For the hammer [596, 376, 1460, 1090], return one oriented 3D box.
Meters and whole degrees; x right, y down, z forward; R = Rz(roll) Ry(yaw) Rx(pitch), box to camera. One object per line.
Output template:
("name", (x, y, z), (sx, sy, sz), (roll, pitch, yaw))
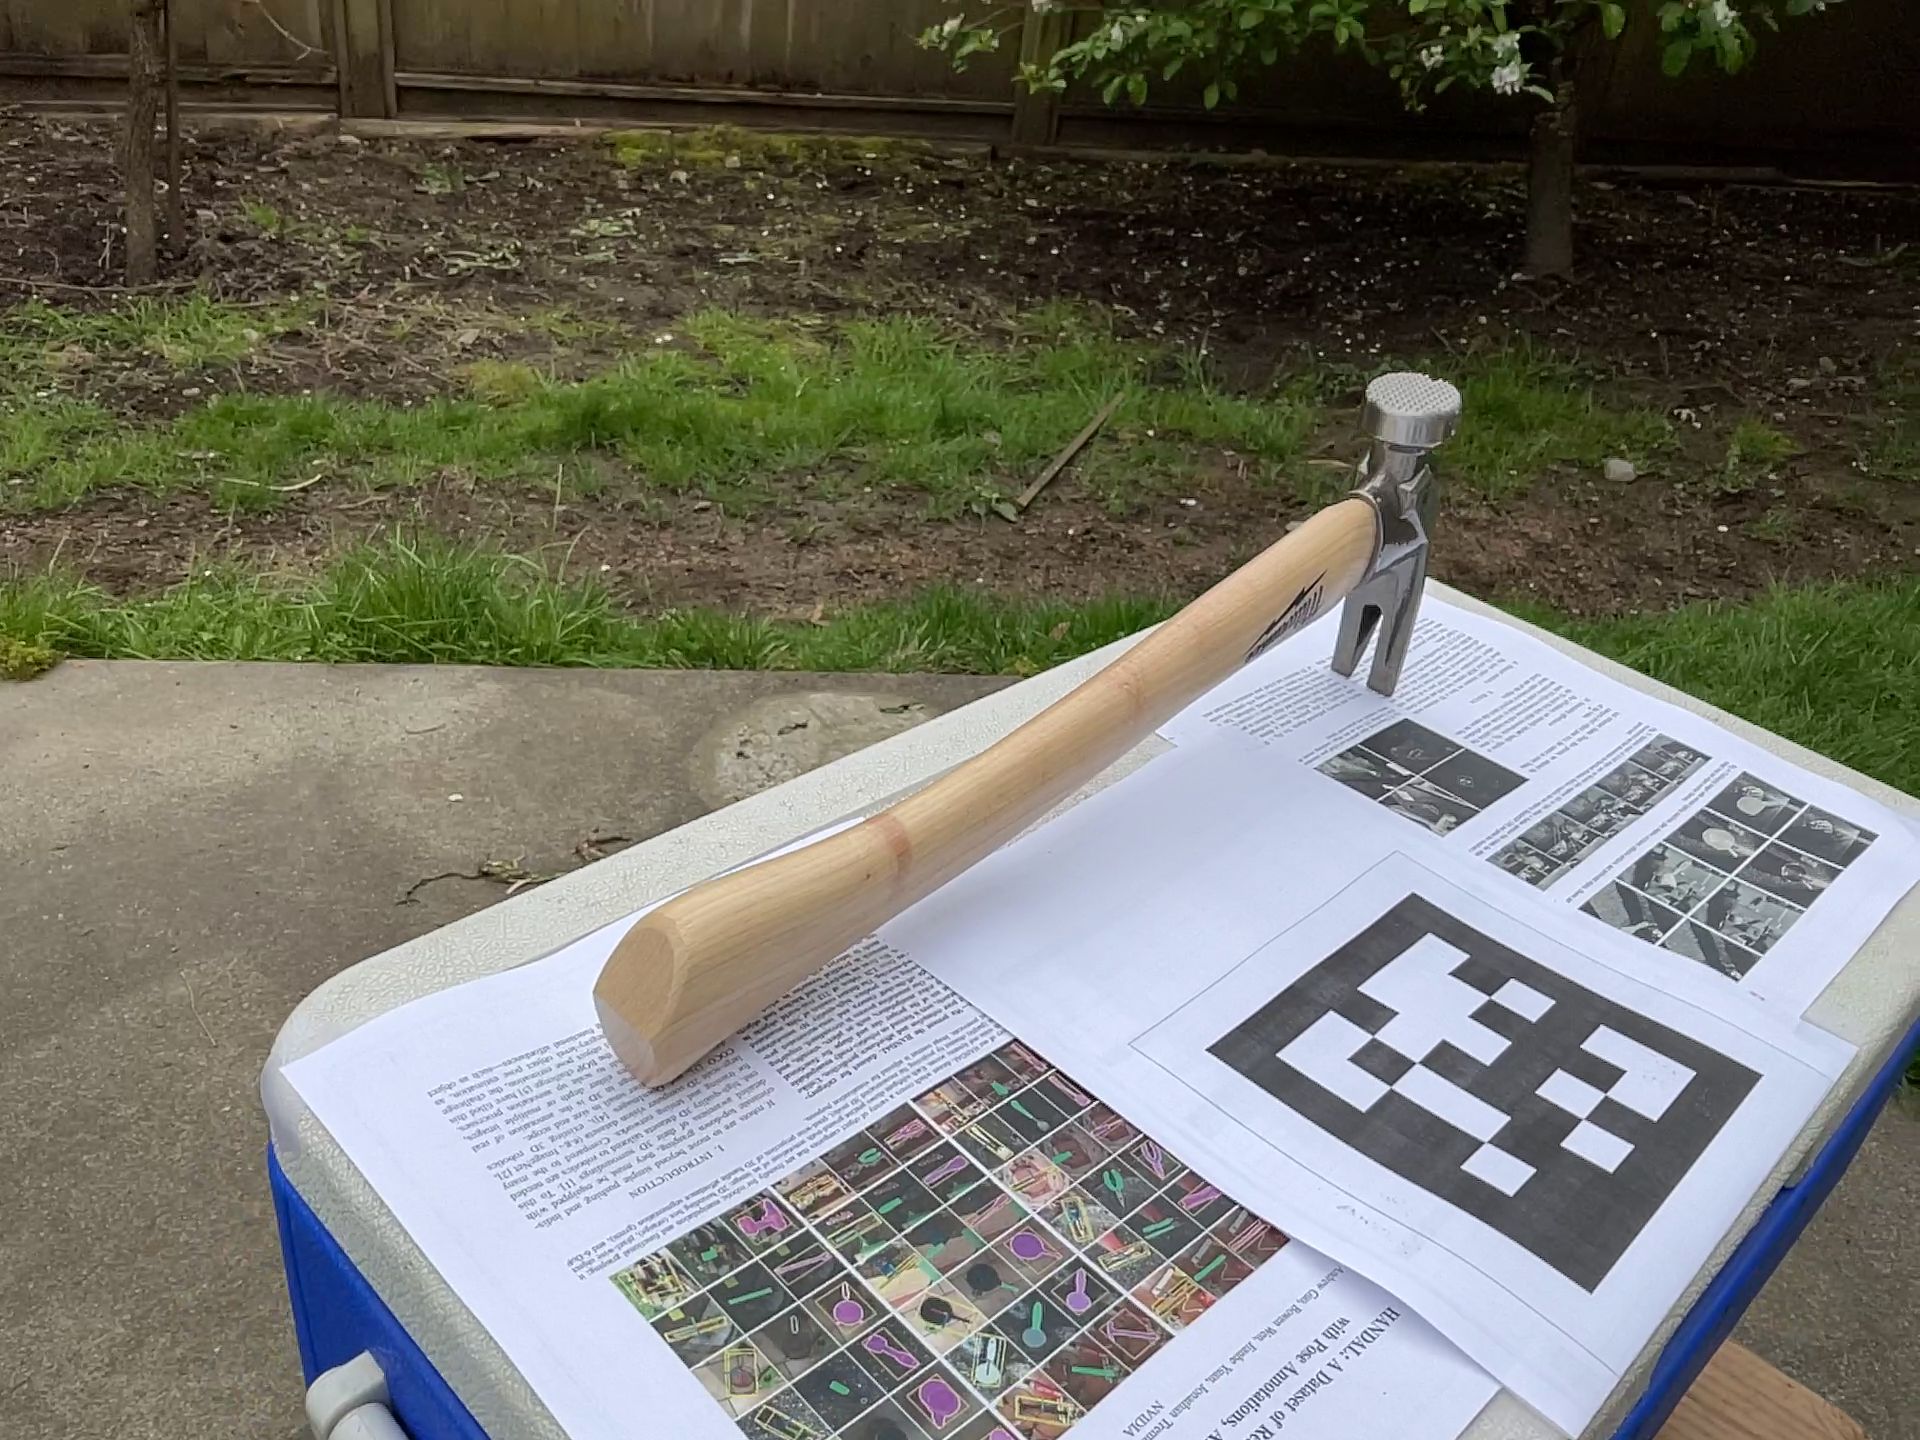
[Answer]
("hammer", (0.049, 0.010, 0.577), (0.038, 0.146, 0.410), (31, 48, 34))
